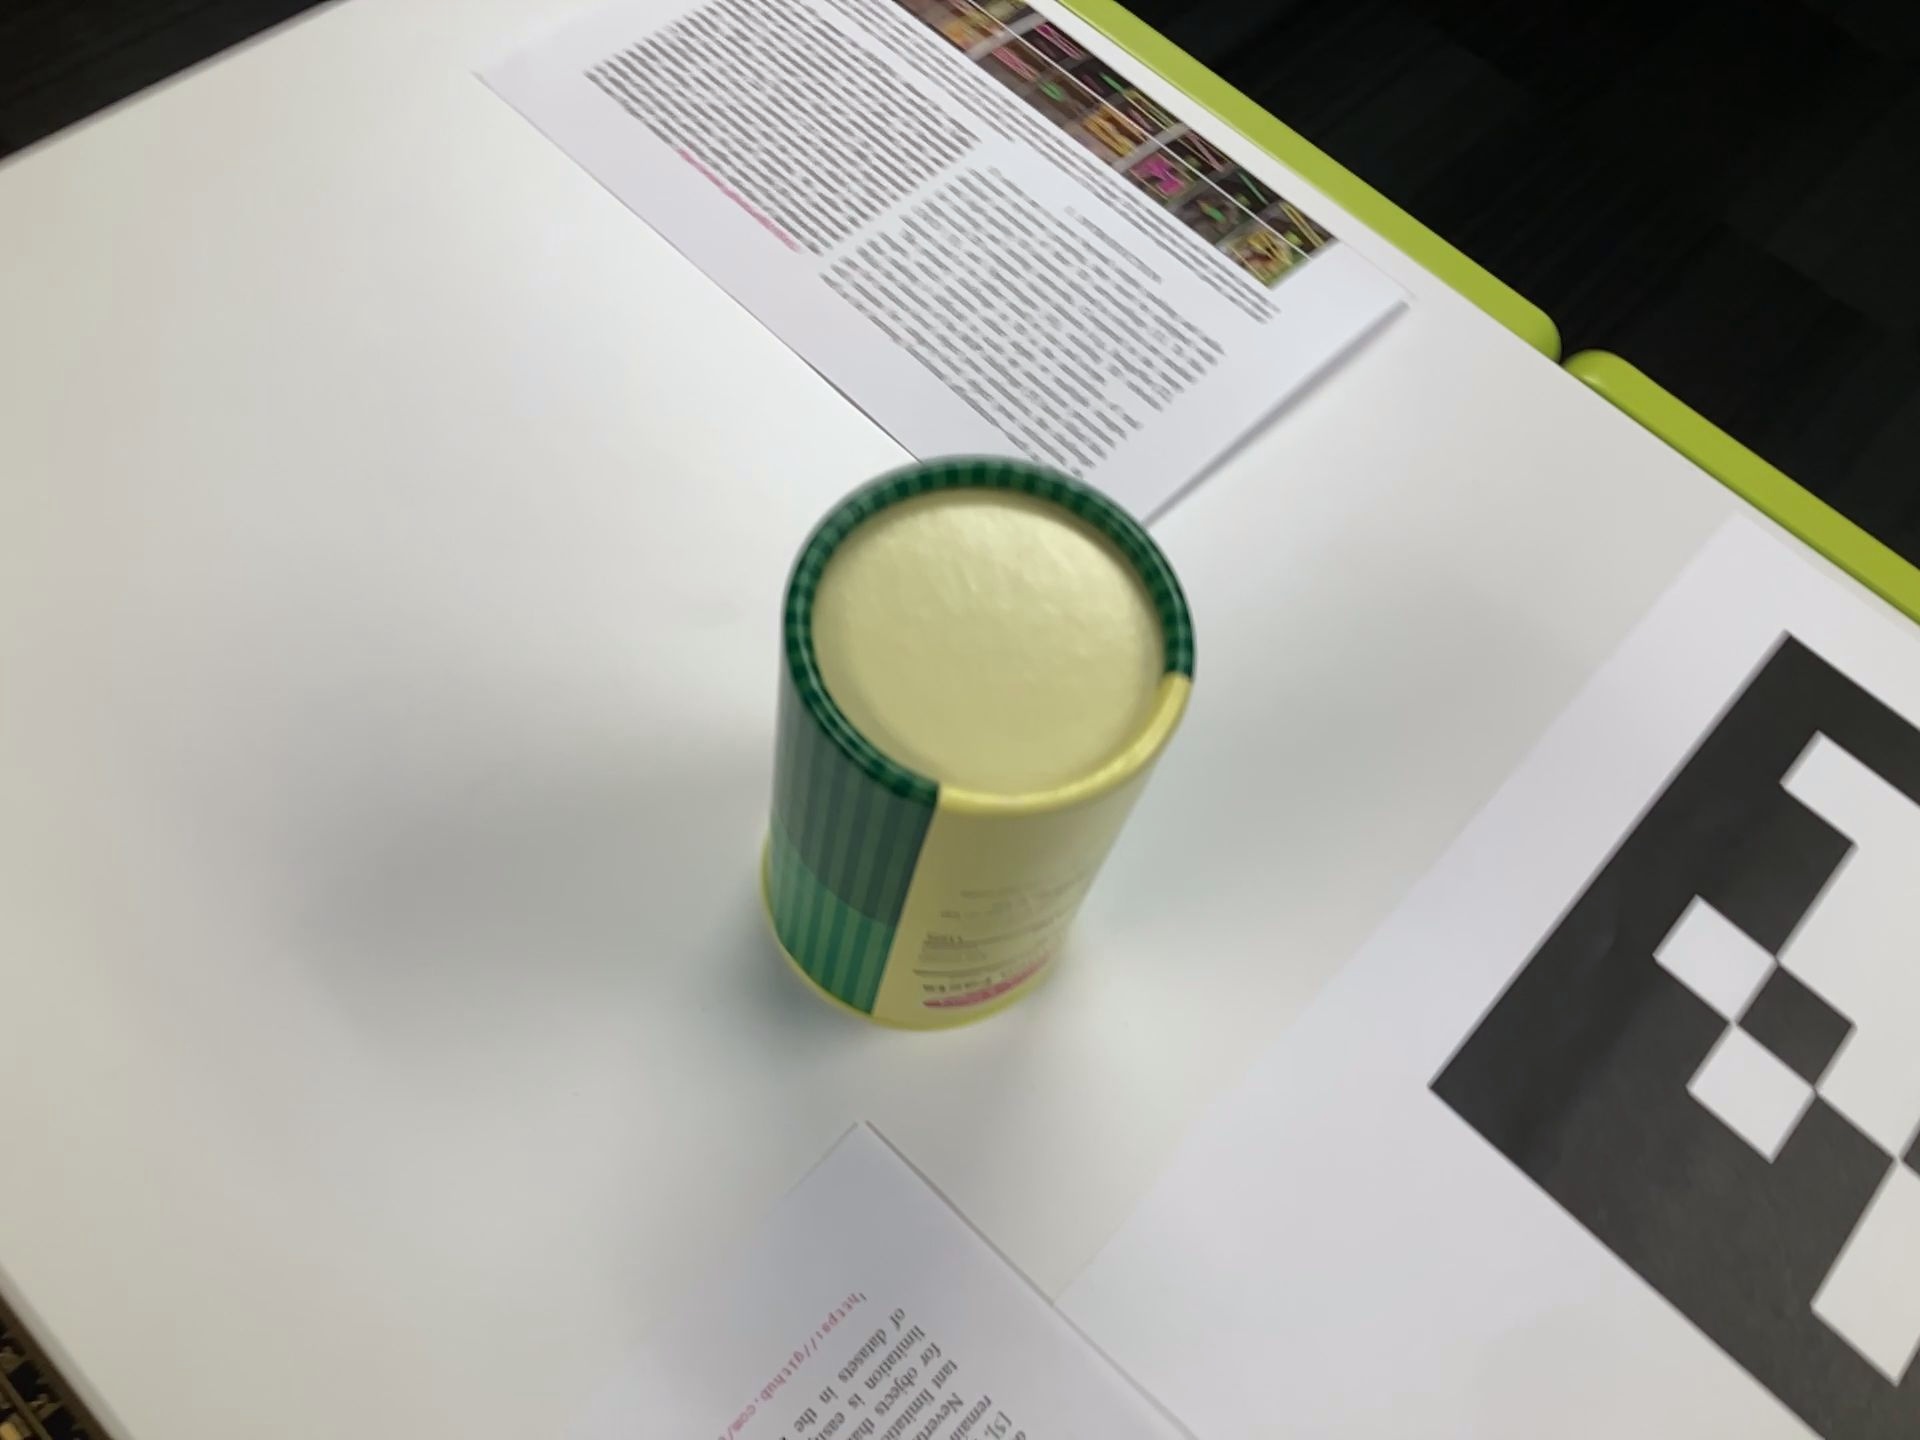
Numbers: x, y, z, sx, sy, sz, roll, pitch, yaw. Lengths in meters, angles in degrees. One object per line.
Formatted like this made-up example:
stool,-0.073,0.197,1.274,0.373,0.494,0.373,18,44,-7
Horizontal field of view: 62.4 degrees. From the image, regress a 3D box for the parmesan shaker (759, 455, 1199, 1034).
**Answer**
parmesan shaker,0.001,0.007,0.286,0.071,0.103,0.071,4,61,-7
